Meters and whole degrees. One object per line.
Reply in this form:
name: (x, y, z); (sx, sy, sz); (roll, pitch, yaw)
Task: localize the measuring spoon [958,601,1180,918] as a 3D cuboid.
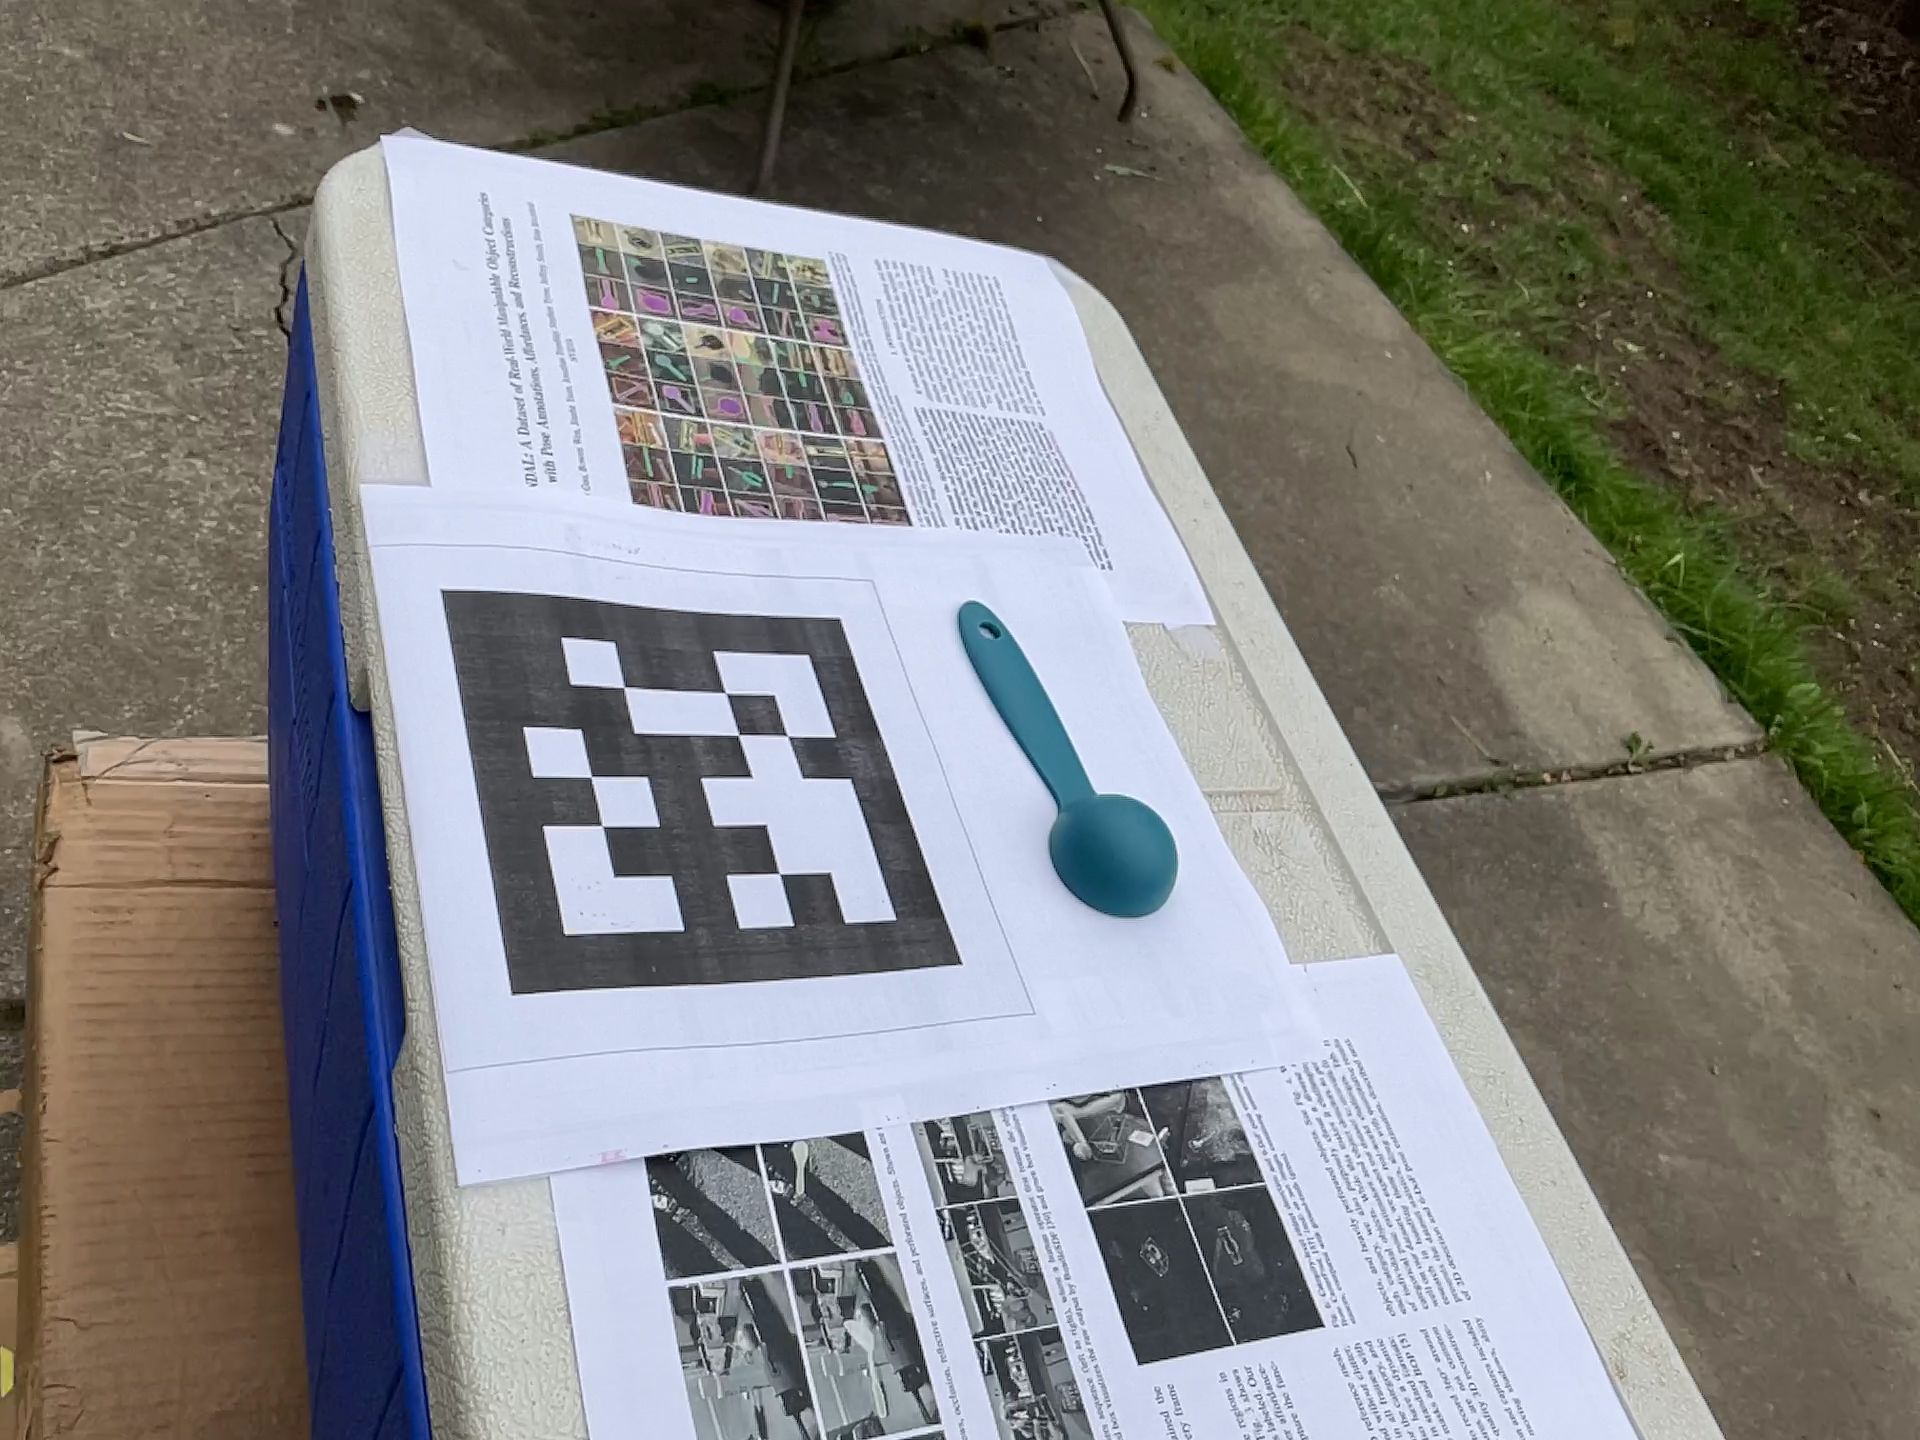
measuring spoon: (0.032, 0.005, 0.515); (0.042, 0.021, 0.129); (-11, 57, -30)
